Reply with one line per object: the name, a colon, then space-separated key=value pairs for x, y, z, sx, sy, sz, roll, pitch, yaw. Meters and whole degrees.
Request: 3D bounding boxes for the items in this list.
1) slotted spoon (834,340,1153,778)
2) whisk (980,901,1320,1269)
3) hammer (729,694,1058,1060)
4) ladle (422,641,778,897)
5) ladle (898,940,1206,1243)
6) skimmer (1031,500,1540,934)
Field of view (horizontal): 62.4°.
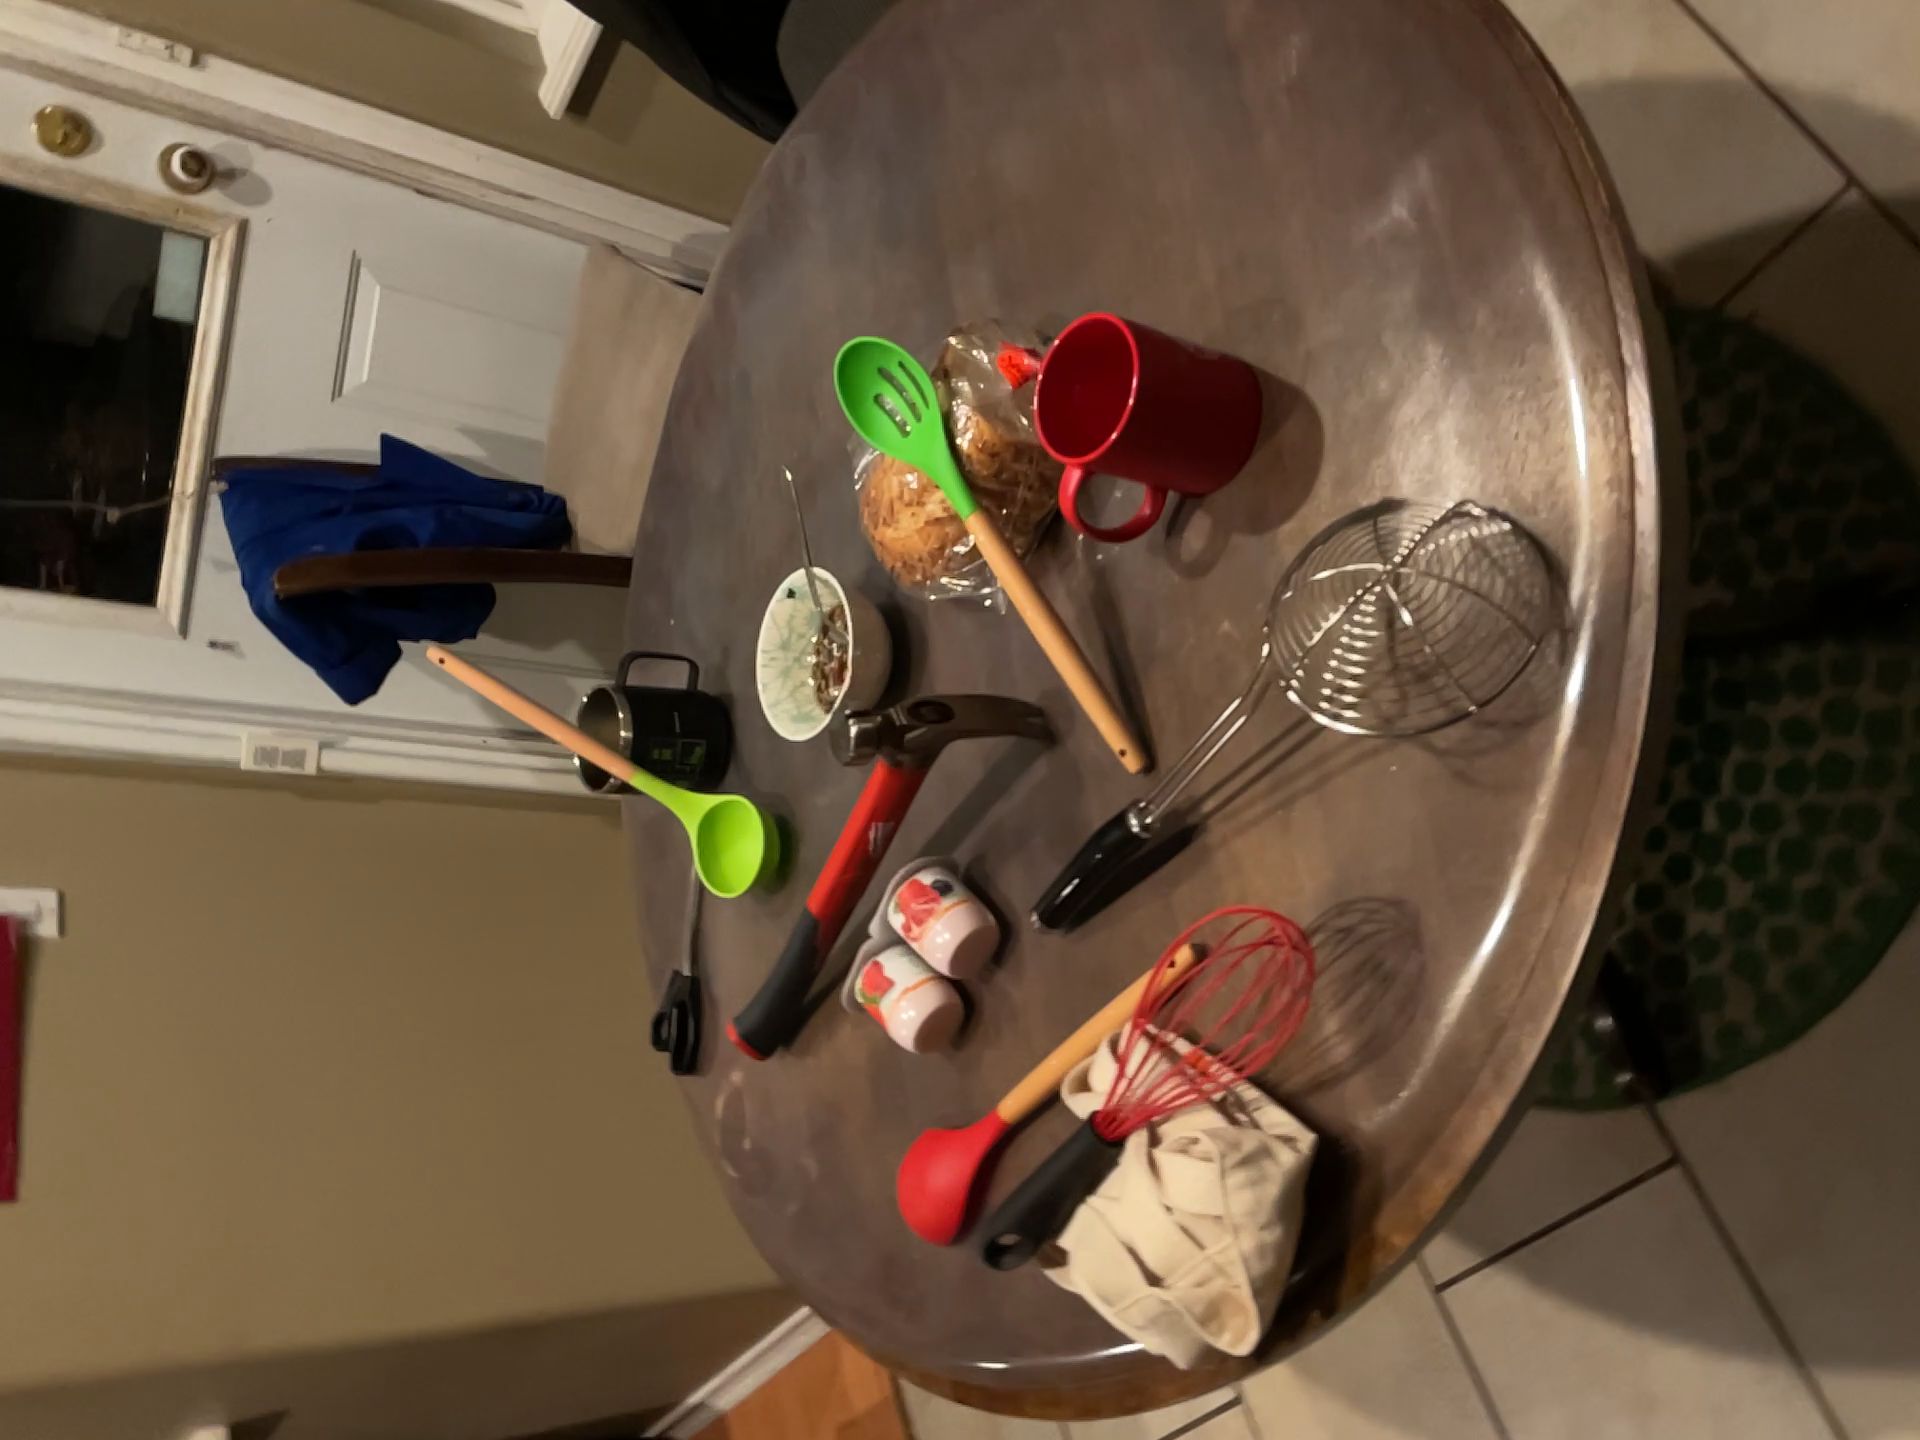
slotted spoon: x=0.022 y=-0.098 z=0.941 sx=0.314 sy=0.031 sz=0.070 roll=57 pitch=136 yaw=11
whisk: x=0.087 y=0.200 z=0.820 sx=0.296 sy=0.073 sz=0.073 roll=-56 pitch=47 yaw=31
hammer: x=-0.069 y=0.118 z=1.073 sx=0.386 sy=0.143 sz=0.038 roll=-61 pitch=41 yaw=43
ladle: x=-0.279 y=0.031 z=1.214 sx=0.078 sy=0.320 sz=0.062 roll=-58 pitch=0 yaw=14
ladle: x=0.045 y=0.224 z=0.951 sx=0.315 sy=0.031 sz=0.069 roll=-49 pitch=50 yaw=33
skimmer: x=0.151 y=0.023 z=0.840 sx=0.363 sy=0.090 sz=0.127 roll=125 pitch=143 yaw=-47
